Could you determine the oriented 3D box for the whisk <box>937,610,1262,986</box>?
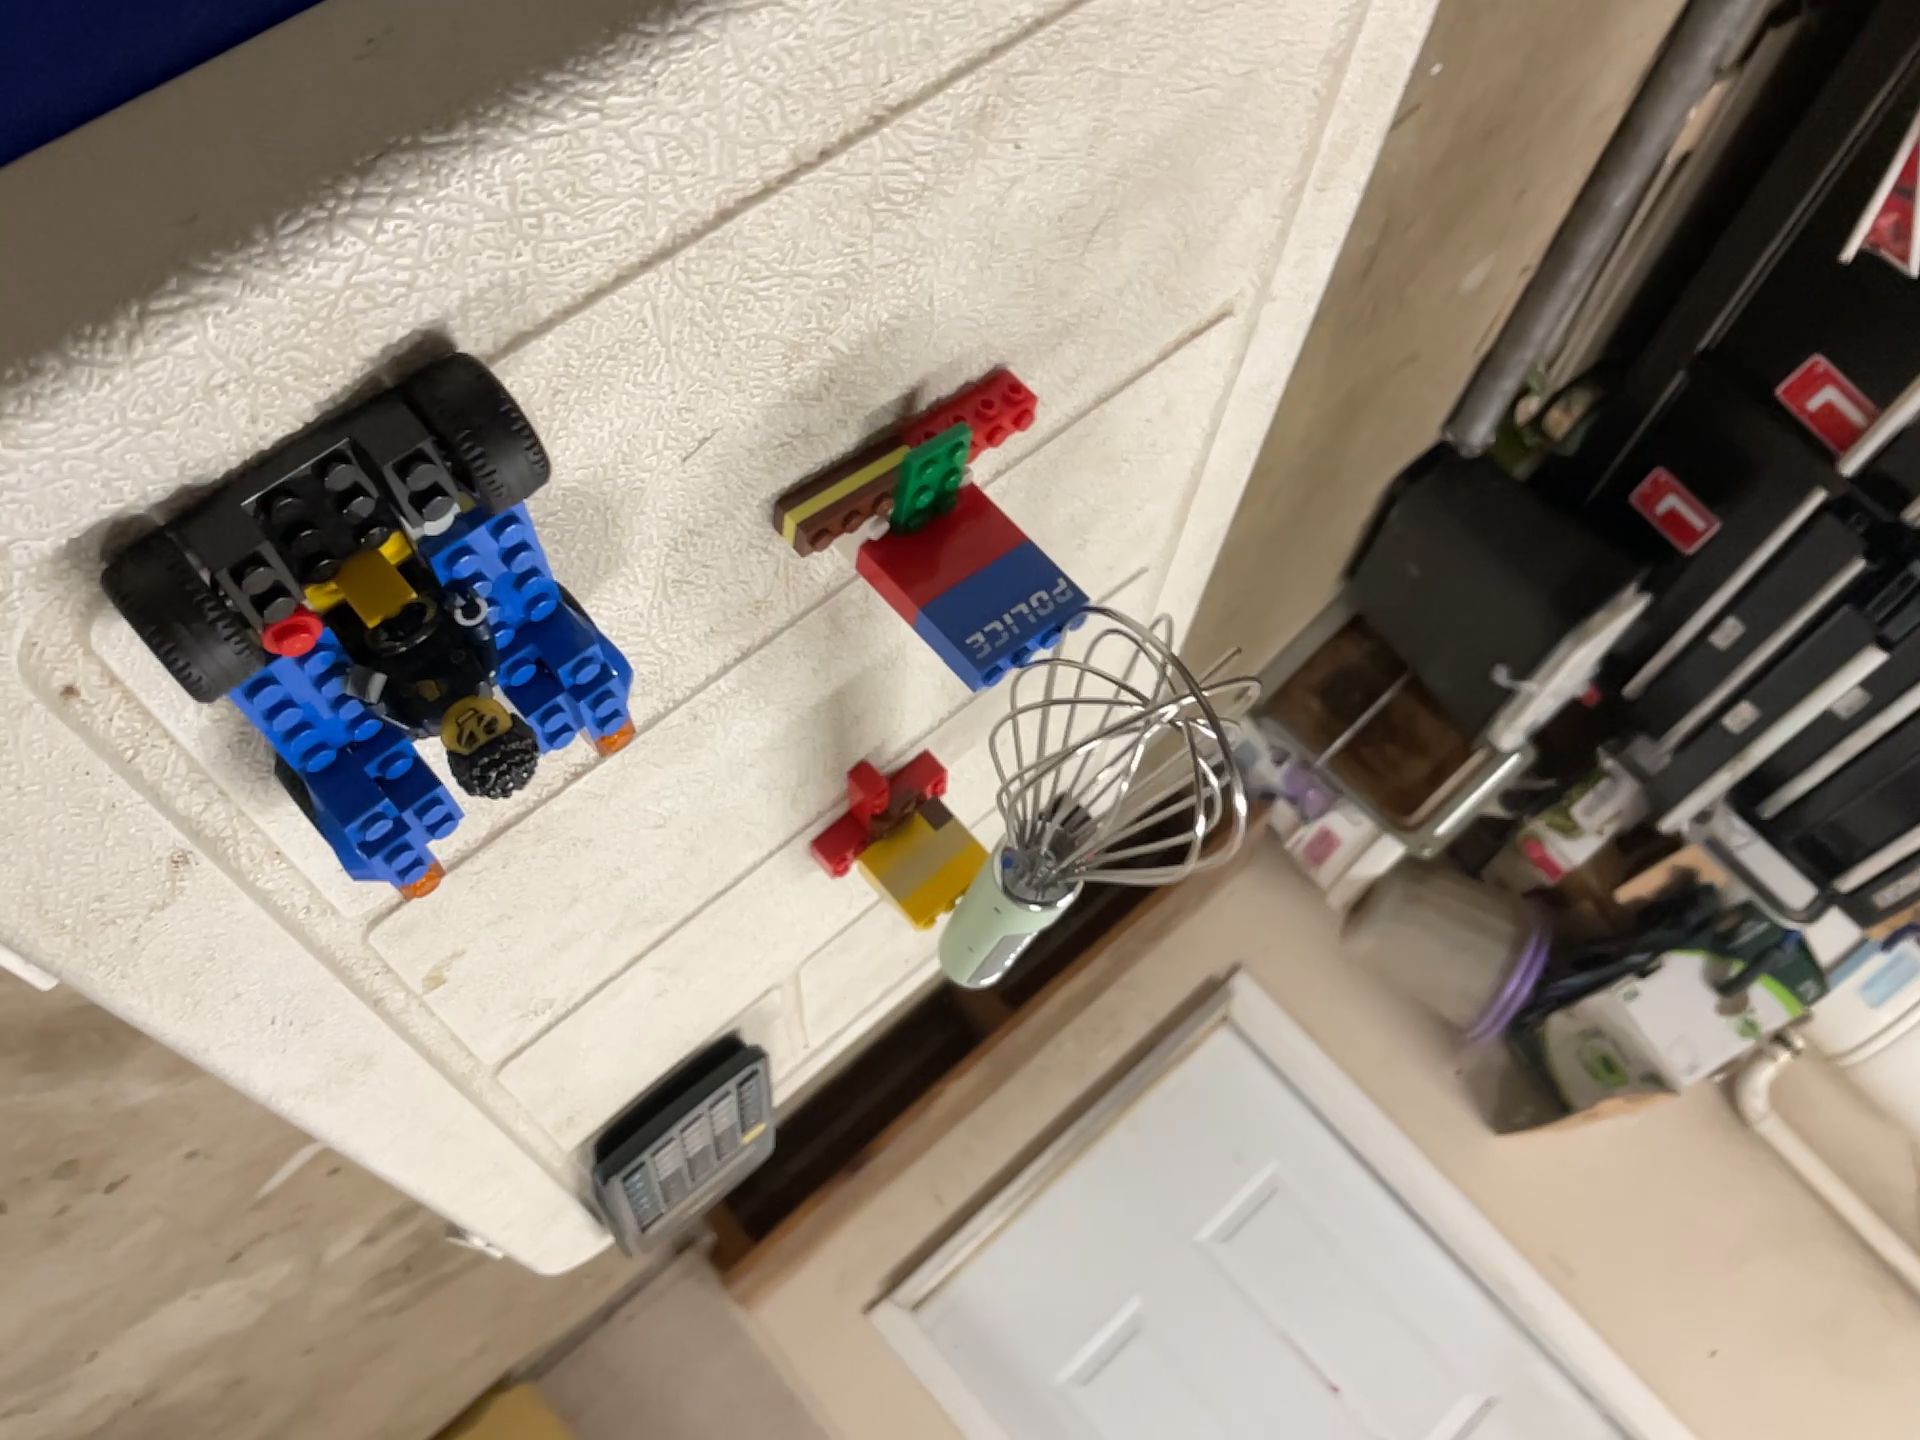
[{"bbox_3d":[0.022,0.036,0.413,0.058,0.059,0.246,-30,167,-18],"label":"whisk"}]
